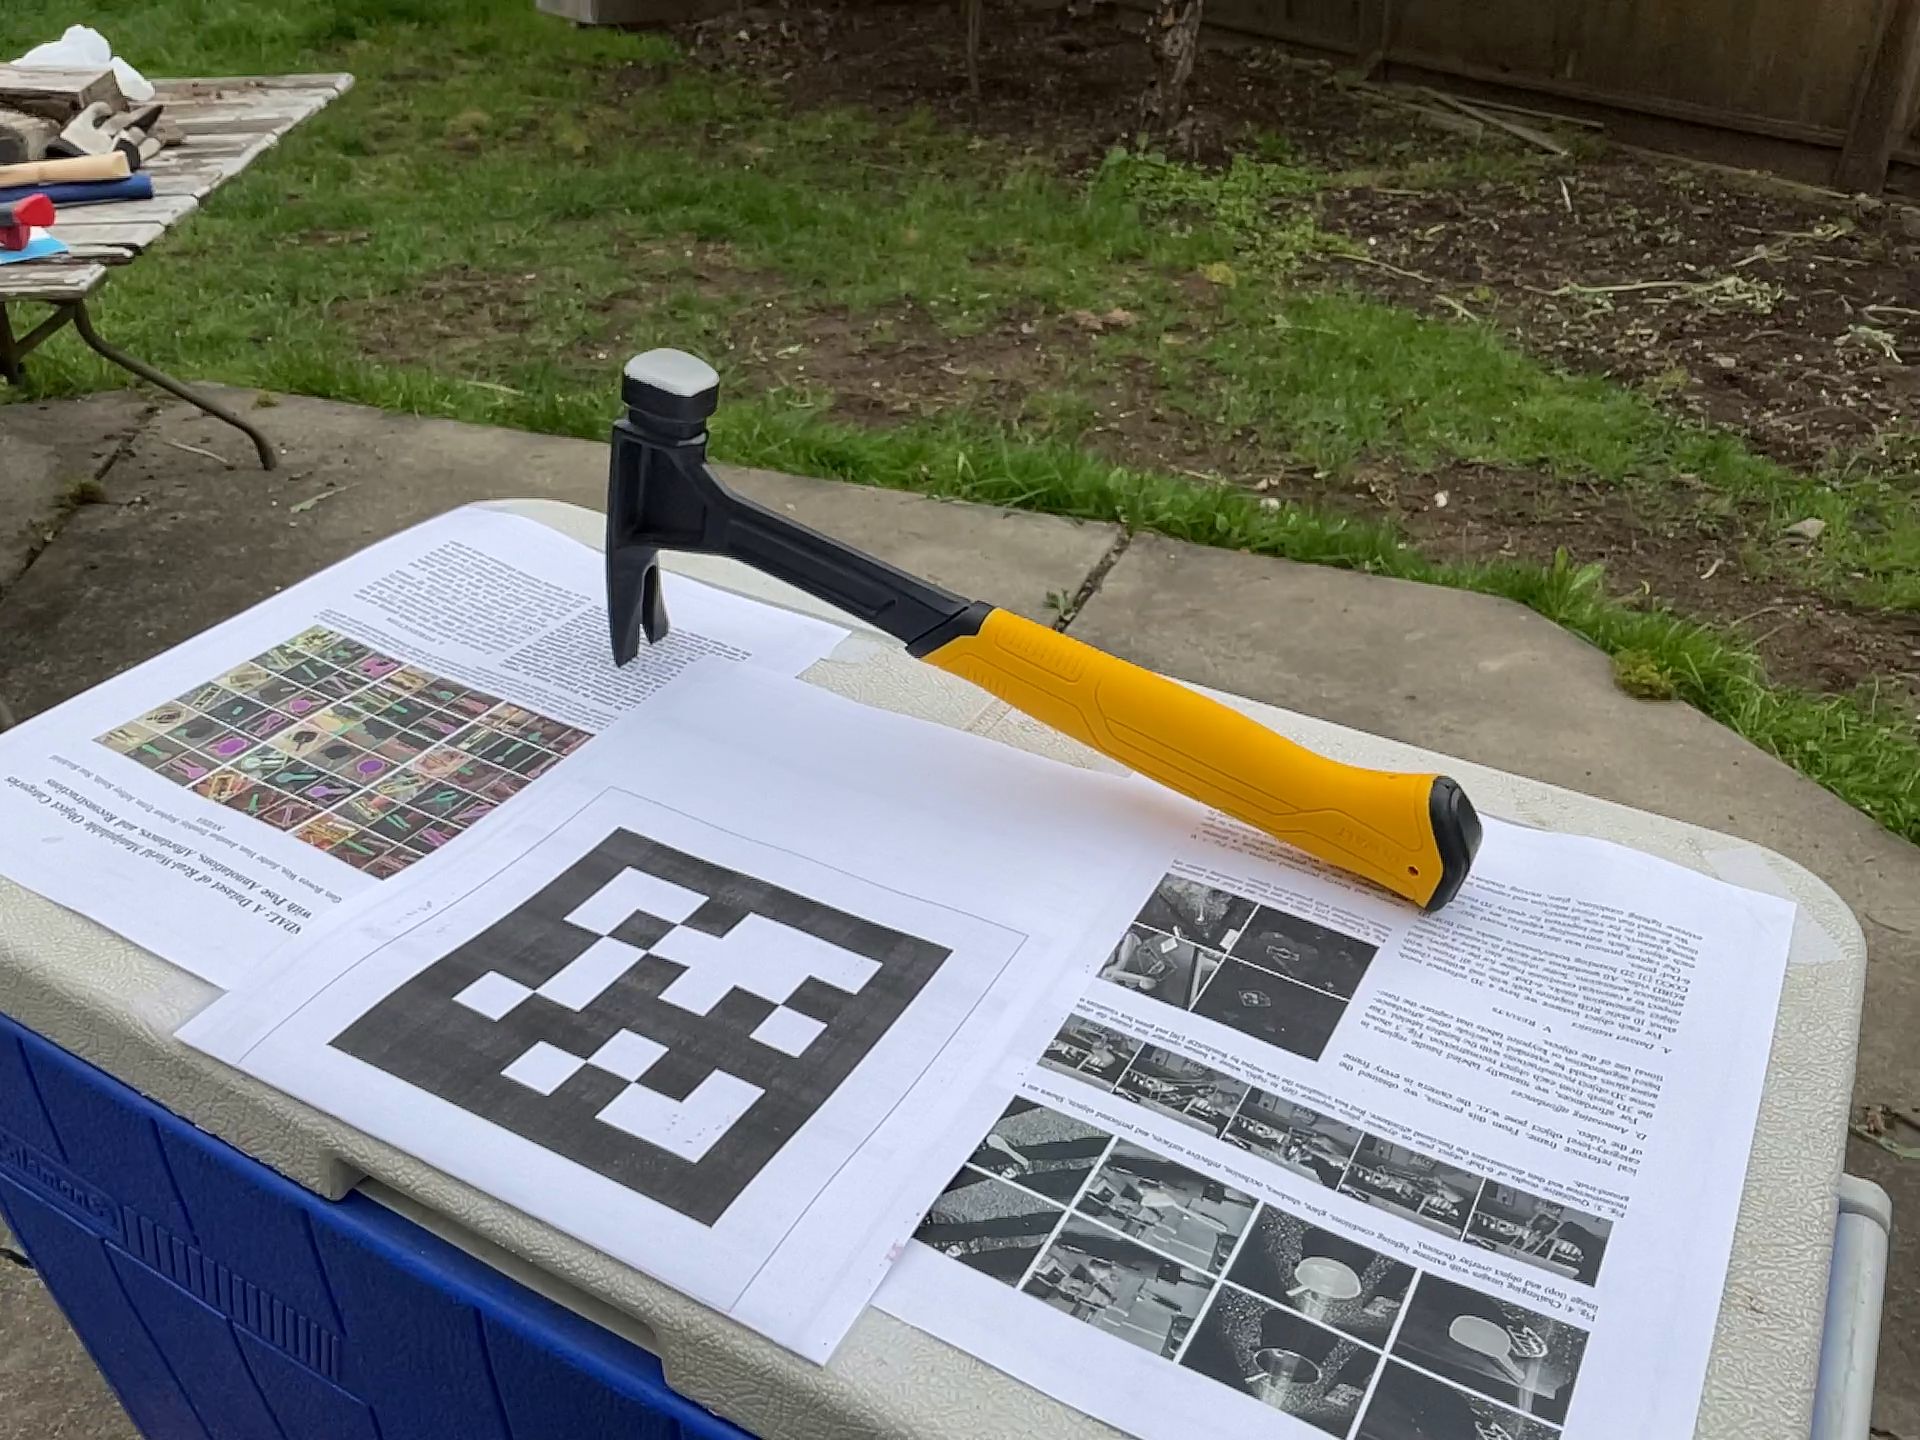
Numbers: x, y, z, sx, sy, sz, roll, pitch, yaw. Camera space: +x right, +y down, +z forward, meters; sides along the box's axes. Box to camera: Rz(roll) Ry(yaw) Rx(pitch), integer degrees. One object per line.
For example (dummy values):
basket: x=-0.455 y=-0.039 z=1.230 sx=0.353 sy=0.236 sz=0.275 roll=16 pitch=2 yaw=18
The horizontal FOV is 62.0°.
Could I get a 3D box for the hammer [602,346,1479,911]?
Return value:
hammer: x=0.015 y=-0.016 z=0.565 sx=0.337 sy=0.127 sz=0.034 roll=26 pitch=38 yaw=17
